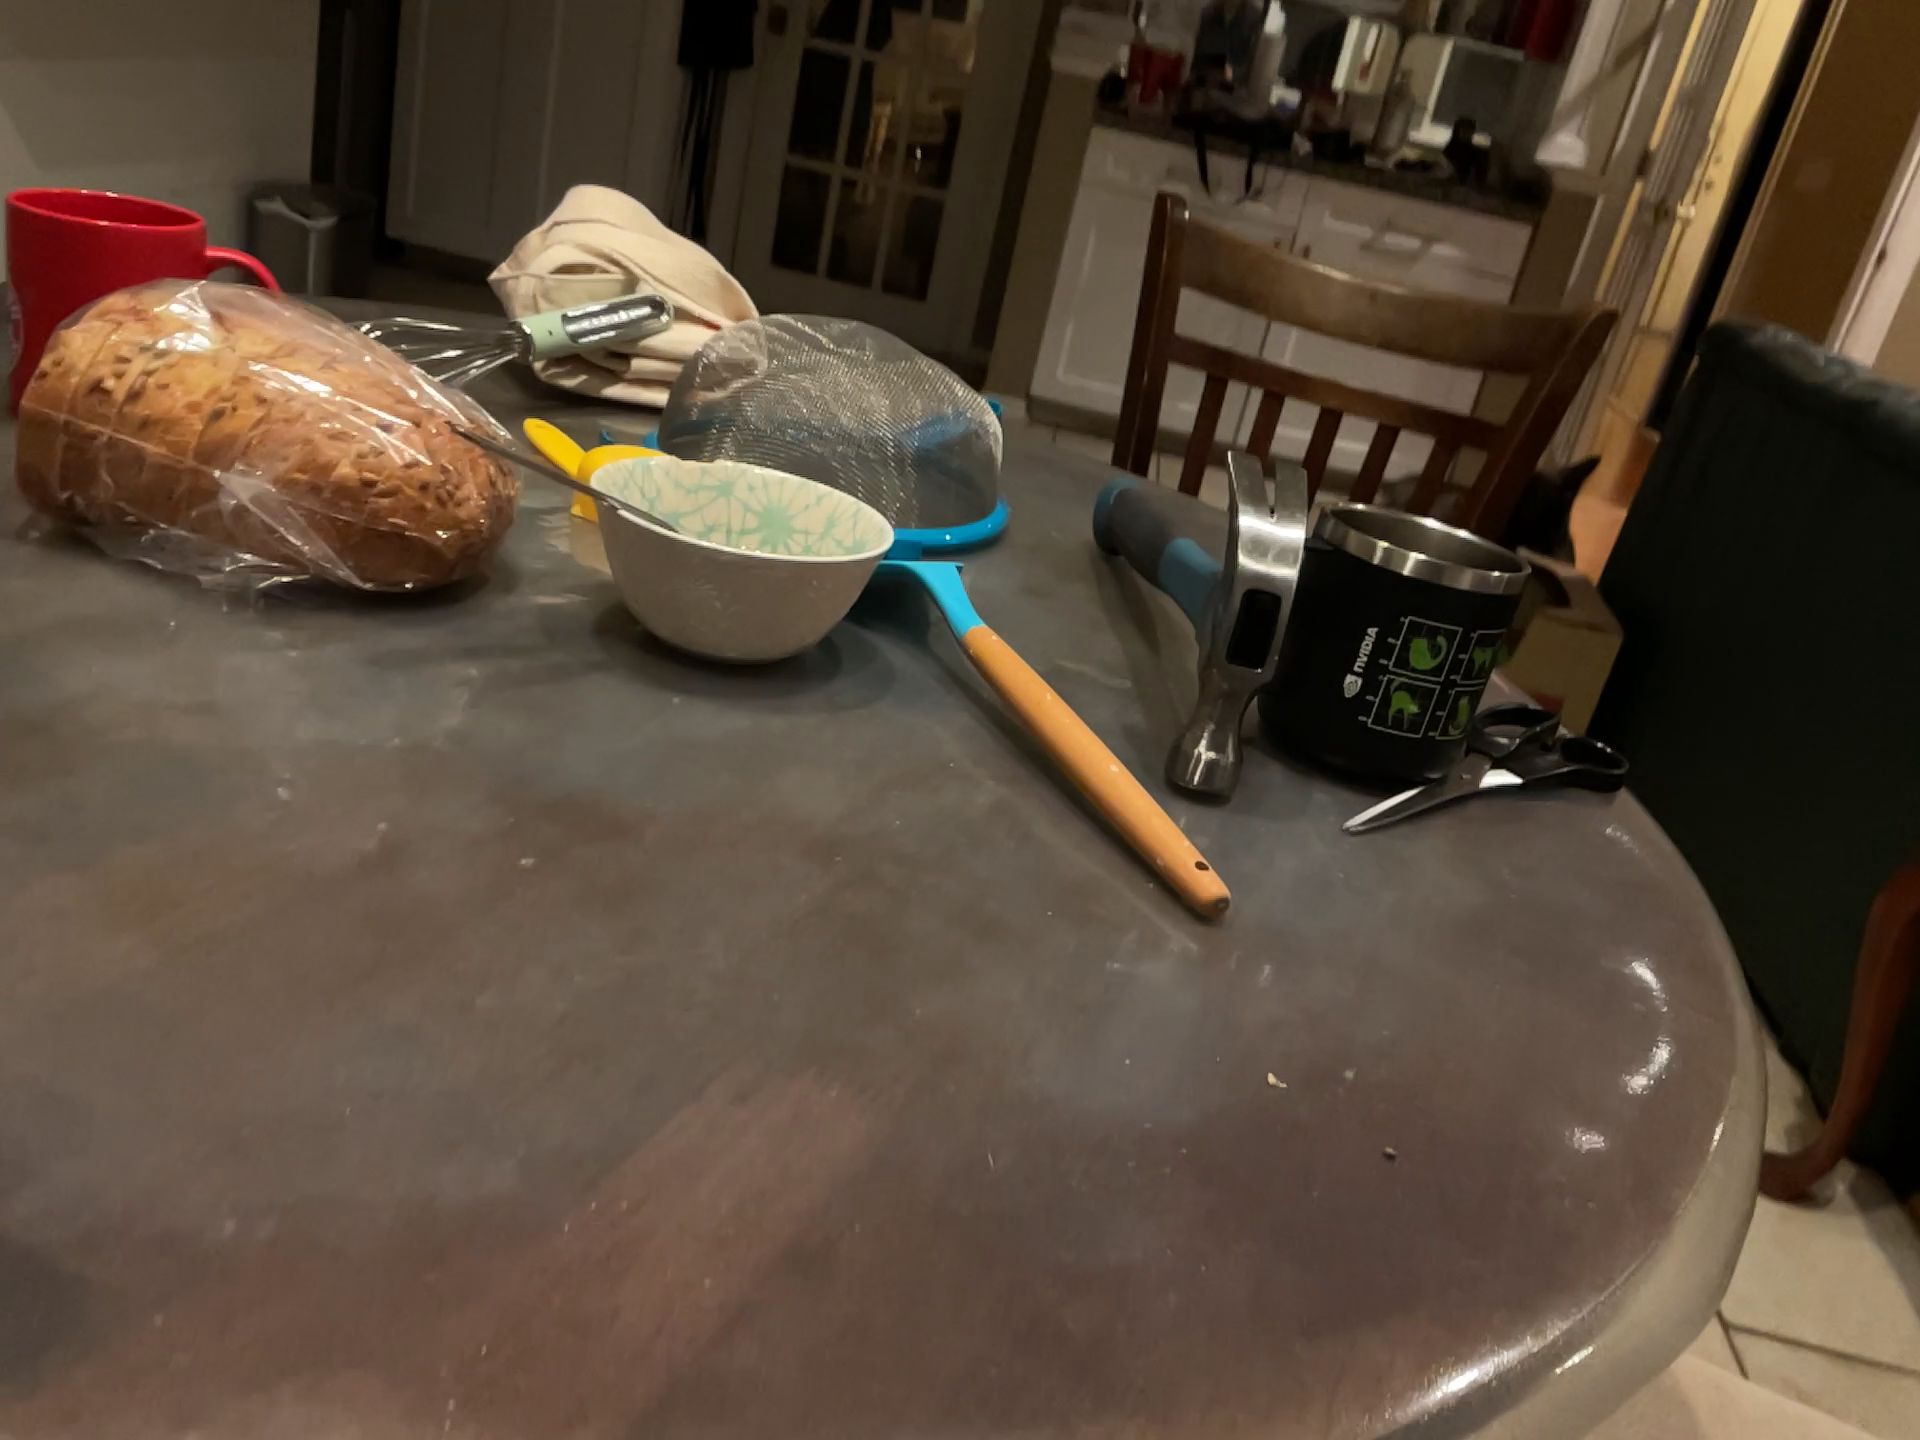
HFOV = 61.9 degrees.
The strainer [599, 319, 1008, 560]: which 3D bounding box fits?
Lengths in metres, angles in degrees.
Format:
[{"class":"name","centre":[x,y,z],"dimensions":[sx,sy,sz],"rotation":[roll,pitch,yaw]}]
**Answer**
[{"class":"strainer","centre":[-0.041,-0.192,0.947],"dimensions":[0.211,0.095,0.340],"rotation":[22,28,16]}]

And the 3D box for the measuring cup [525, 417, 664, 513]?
[{"class":"measuring cup","centre":[-0.187,-0.139,0.822],"dimensions":[0.062,0.029,0.157],"rotation":[-5,31,-38]}]

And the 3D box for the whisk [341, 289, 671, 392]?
[{"class":"whisk","centre":[-0.251,-0.212,0.896],"dimensions":[0.059,0.057,0.246],"rotation":[-7,16,39]}]

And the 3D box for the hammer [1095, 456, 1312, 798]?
[{"class":"hammer","centre":[0.103,-0.072,0.766],"dimensions":[0.033,0.128,0.331],"rotation":[13,14,-7]}]

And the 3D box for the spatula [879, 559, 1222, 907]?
[{"class":"spatula","centre":[0.015,-0.013,0.664],"dimensions":[0.082,0.044,0.318],"rotation":[1,30,-30]}]
